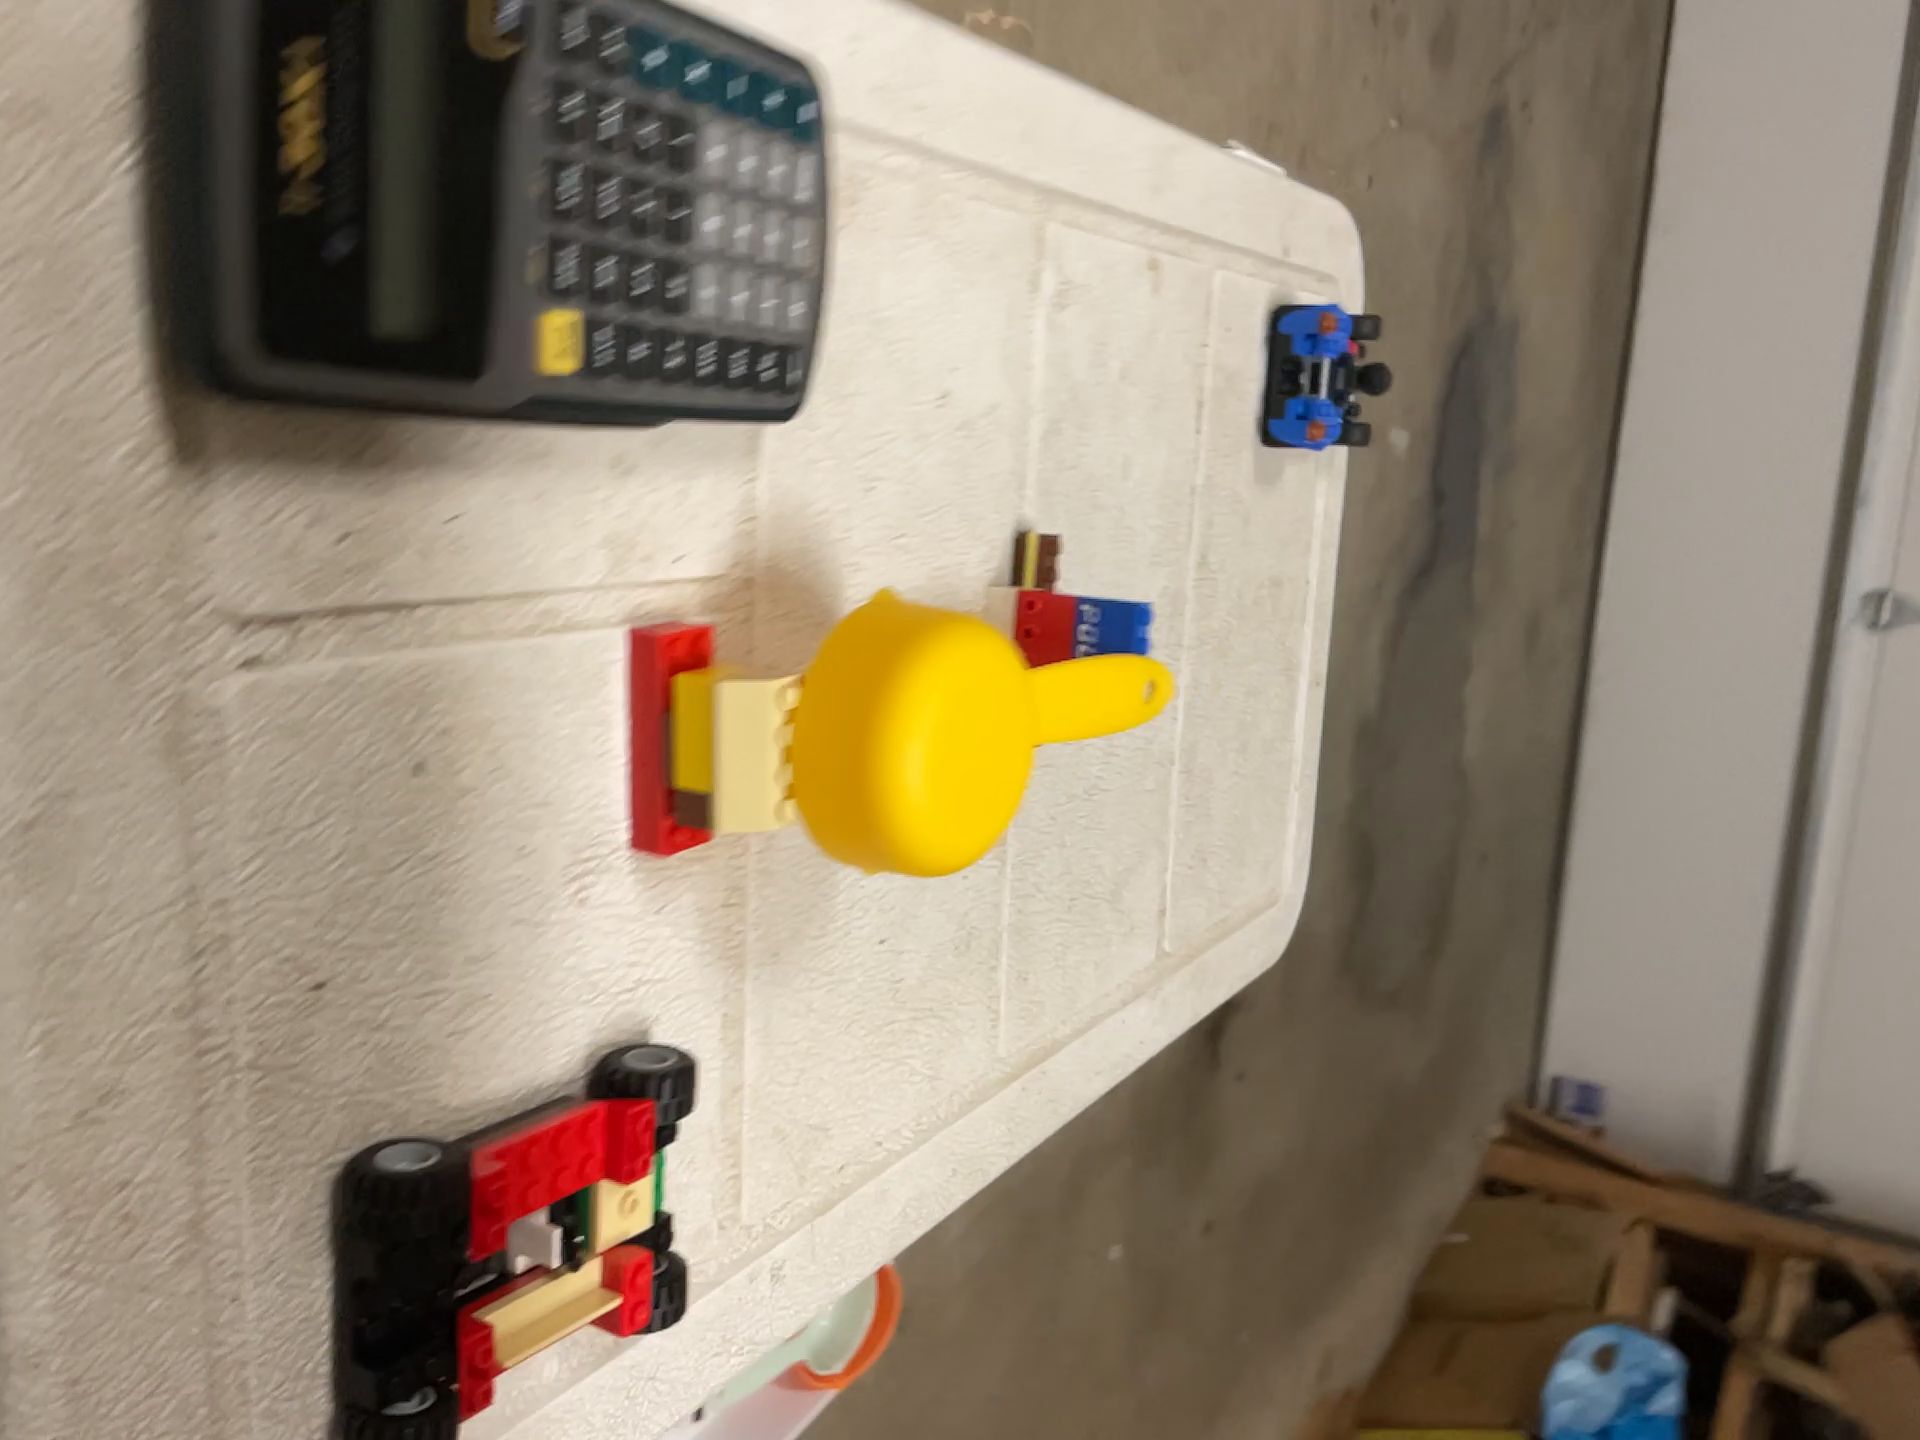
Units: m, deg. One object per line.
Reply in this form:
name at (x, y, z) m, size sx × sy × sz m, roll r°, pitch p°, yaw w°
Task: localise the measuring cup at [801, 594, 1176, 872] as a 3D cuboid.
measuring cup at (0.023, 0.000, 0.386) m, size 0.156 × 0.029 × 0.062 m, roll -10°, pitch 106°, yaw -53°
